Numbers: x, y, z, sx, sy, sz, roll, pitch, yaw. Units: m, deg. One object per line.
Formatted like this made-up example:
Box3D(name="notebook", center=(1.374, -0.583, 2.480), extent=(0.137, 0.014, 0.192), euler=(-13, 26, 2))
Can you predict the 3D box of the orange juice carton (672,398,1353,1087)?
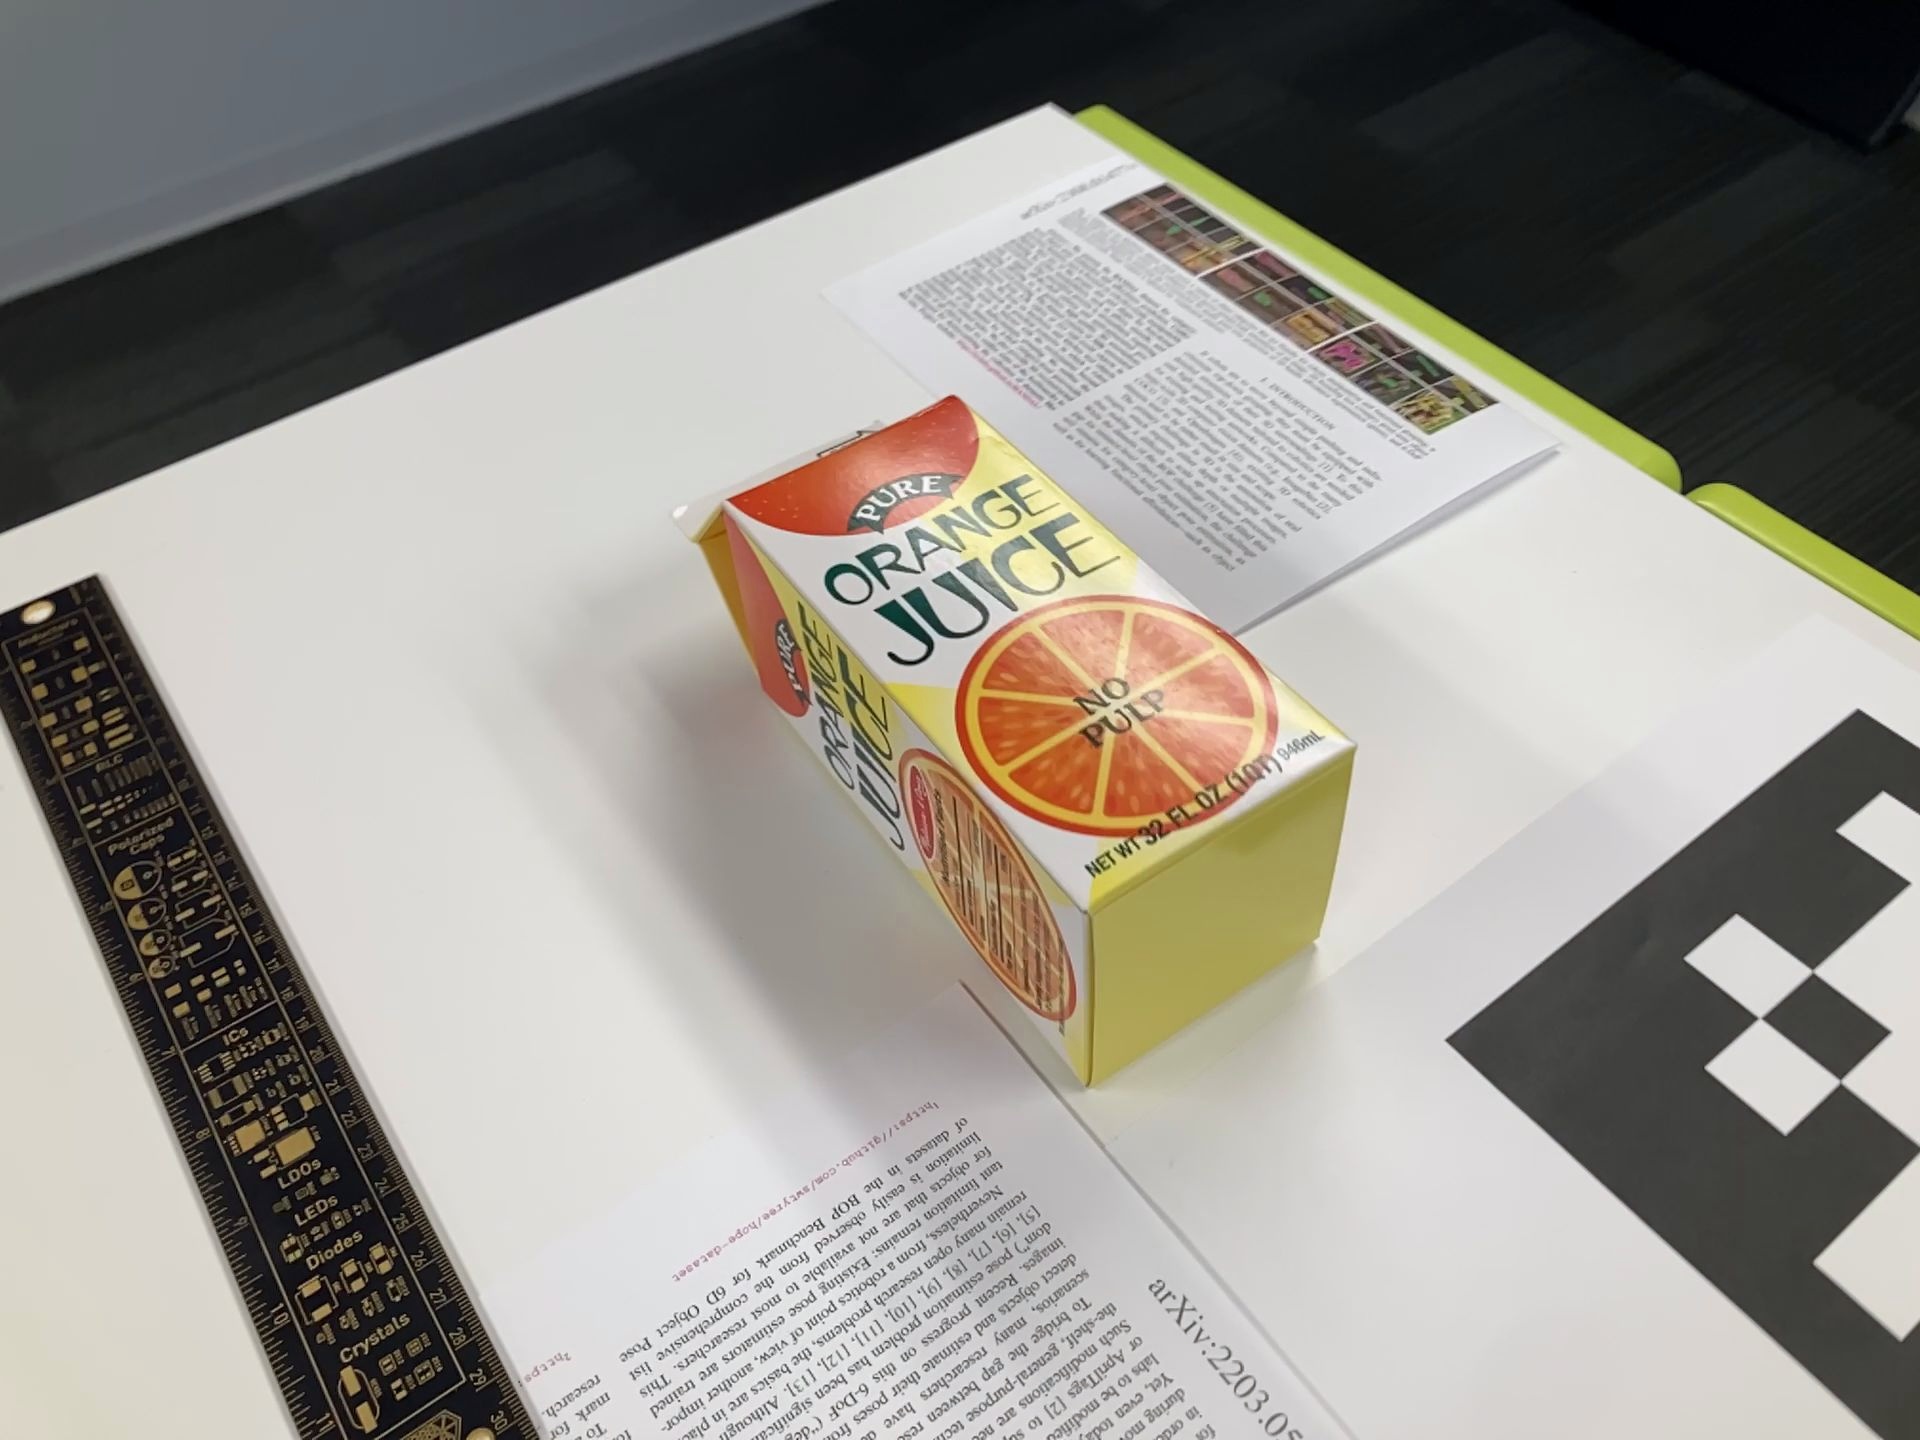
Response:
Box3D(name="orange juice carton", center=(0.002, -0.013, 0.397), extent=(0.072, 0.073, 0.192), euler=(-29, 54, -20))
